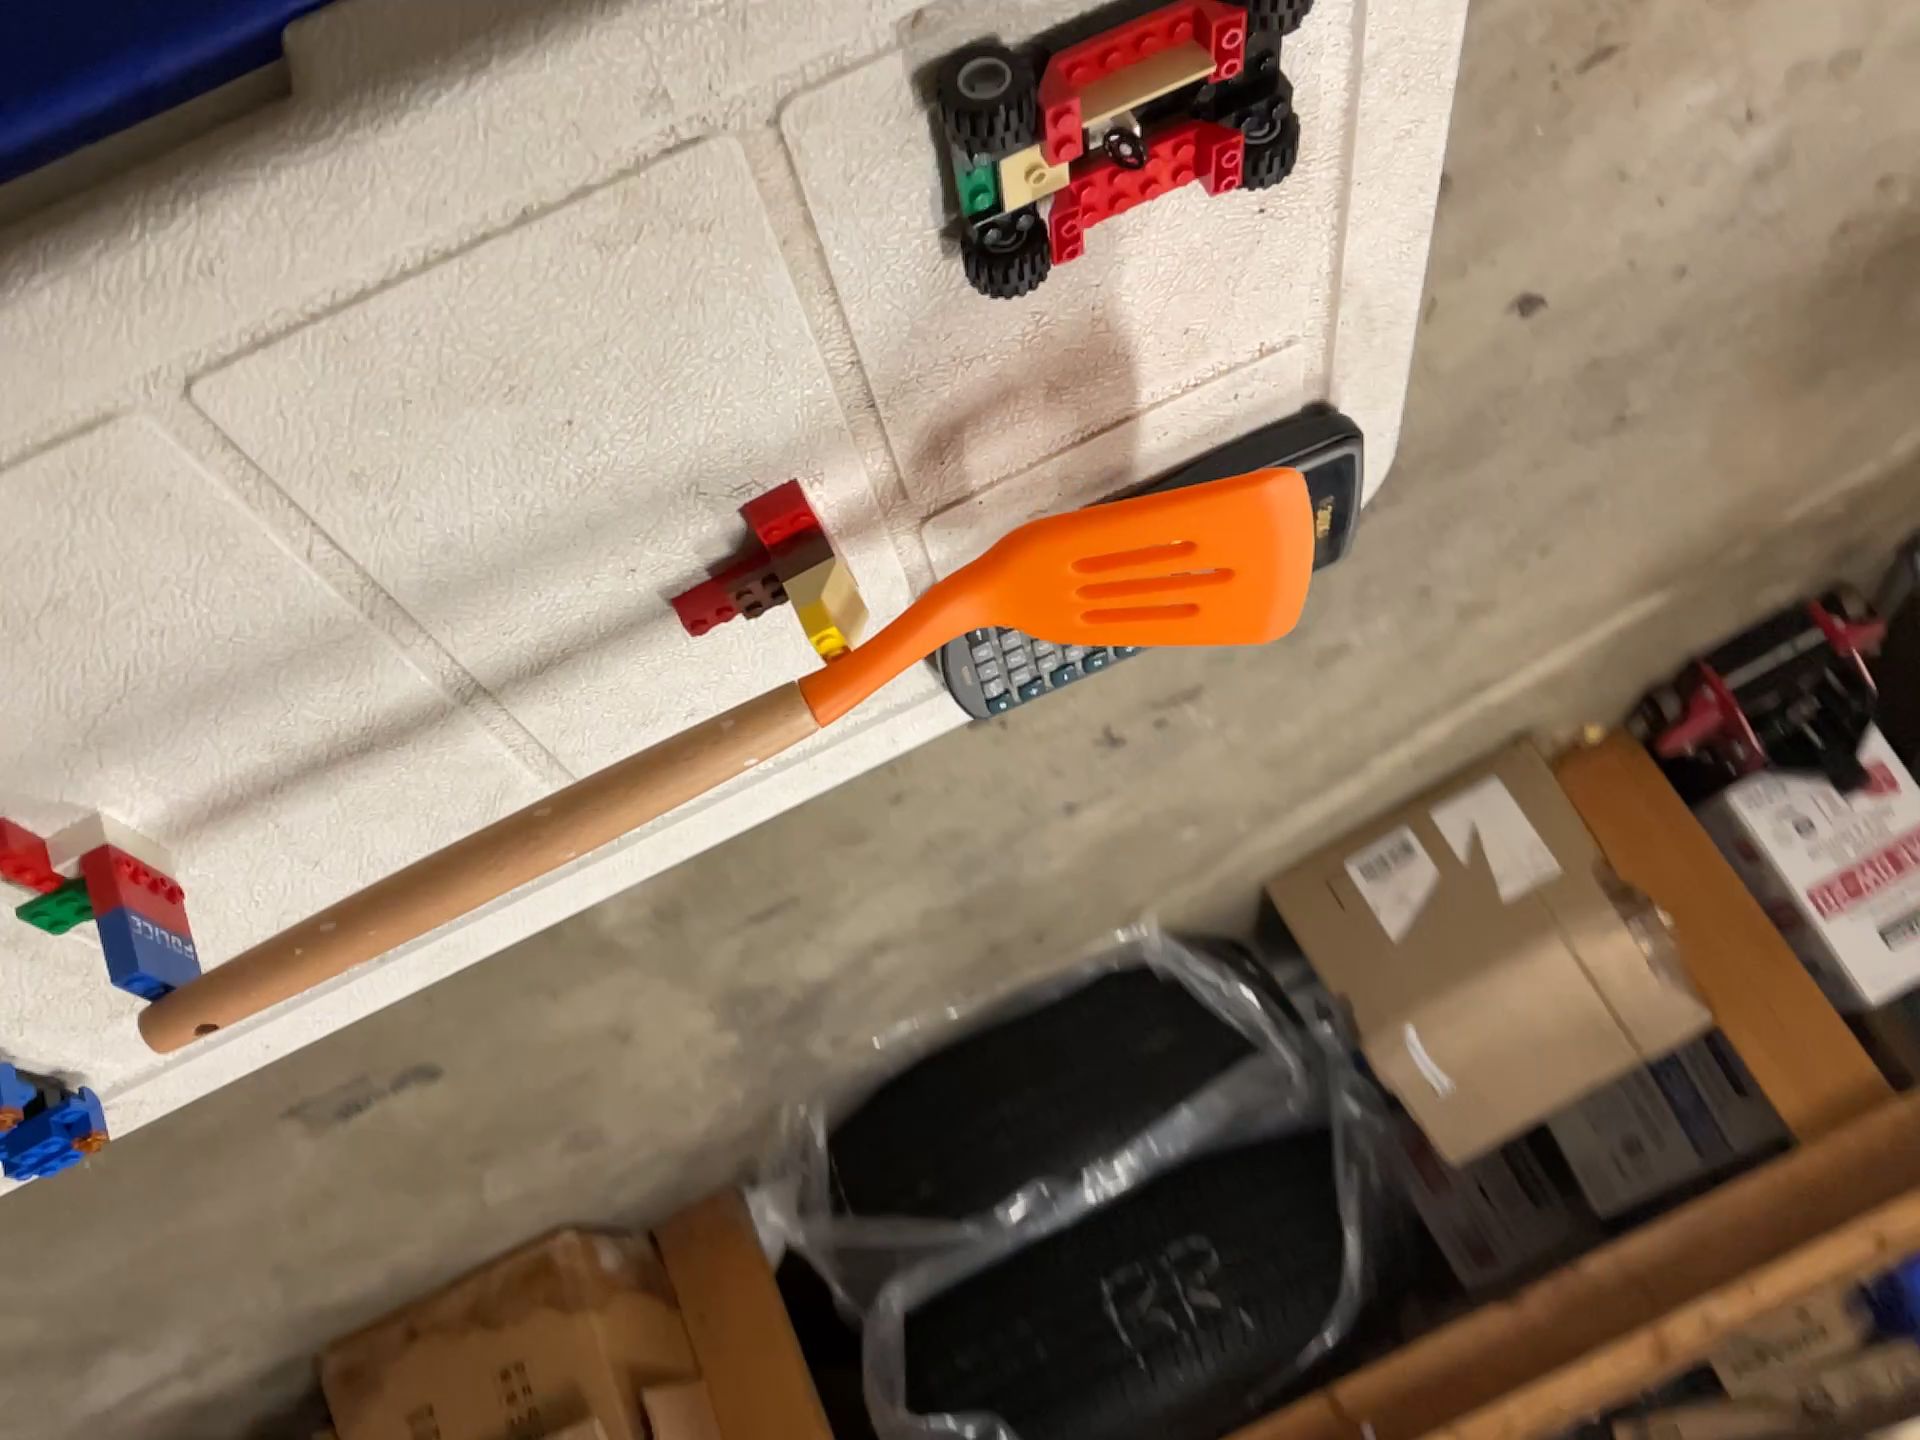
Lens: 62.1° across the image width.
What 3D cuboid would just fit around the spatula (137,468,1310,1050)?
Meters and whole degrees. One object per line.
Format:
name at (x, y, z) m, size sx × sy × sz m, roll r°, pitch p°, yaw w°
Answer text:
spatula at (-0.060, 0.013, 0.417) m, size 0.322 × 0.041 × 0.080 m, roll -27°, pitch 151°, yaw -5°
